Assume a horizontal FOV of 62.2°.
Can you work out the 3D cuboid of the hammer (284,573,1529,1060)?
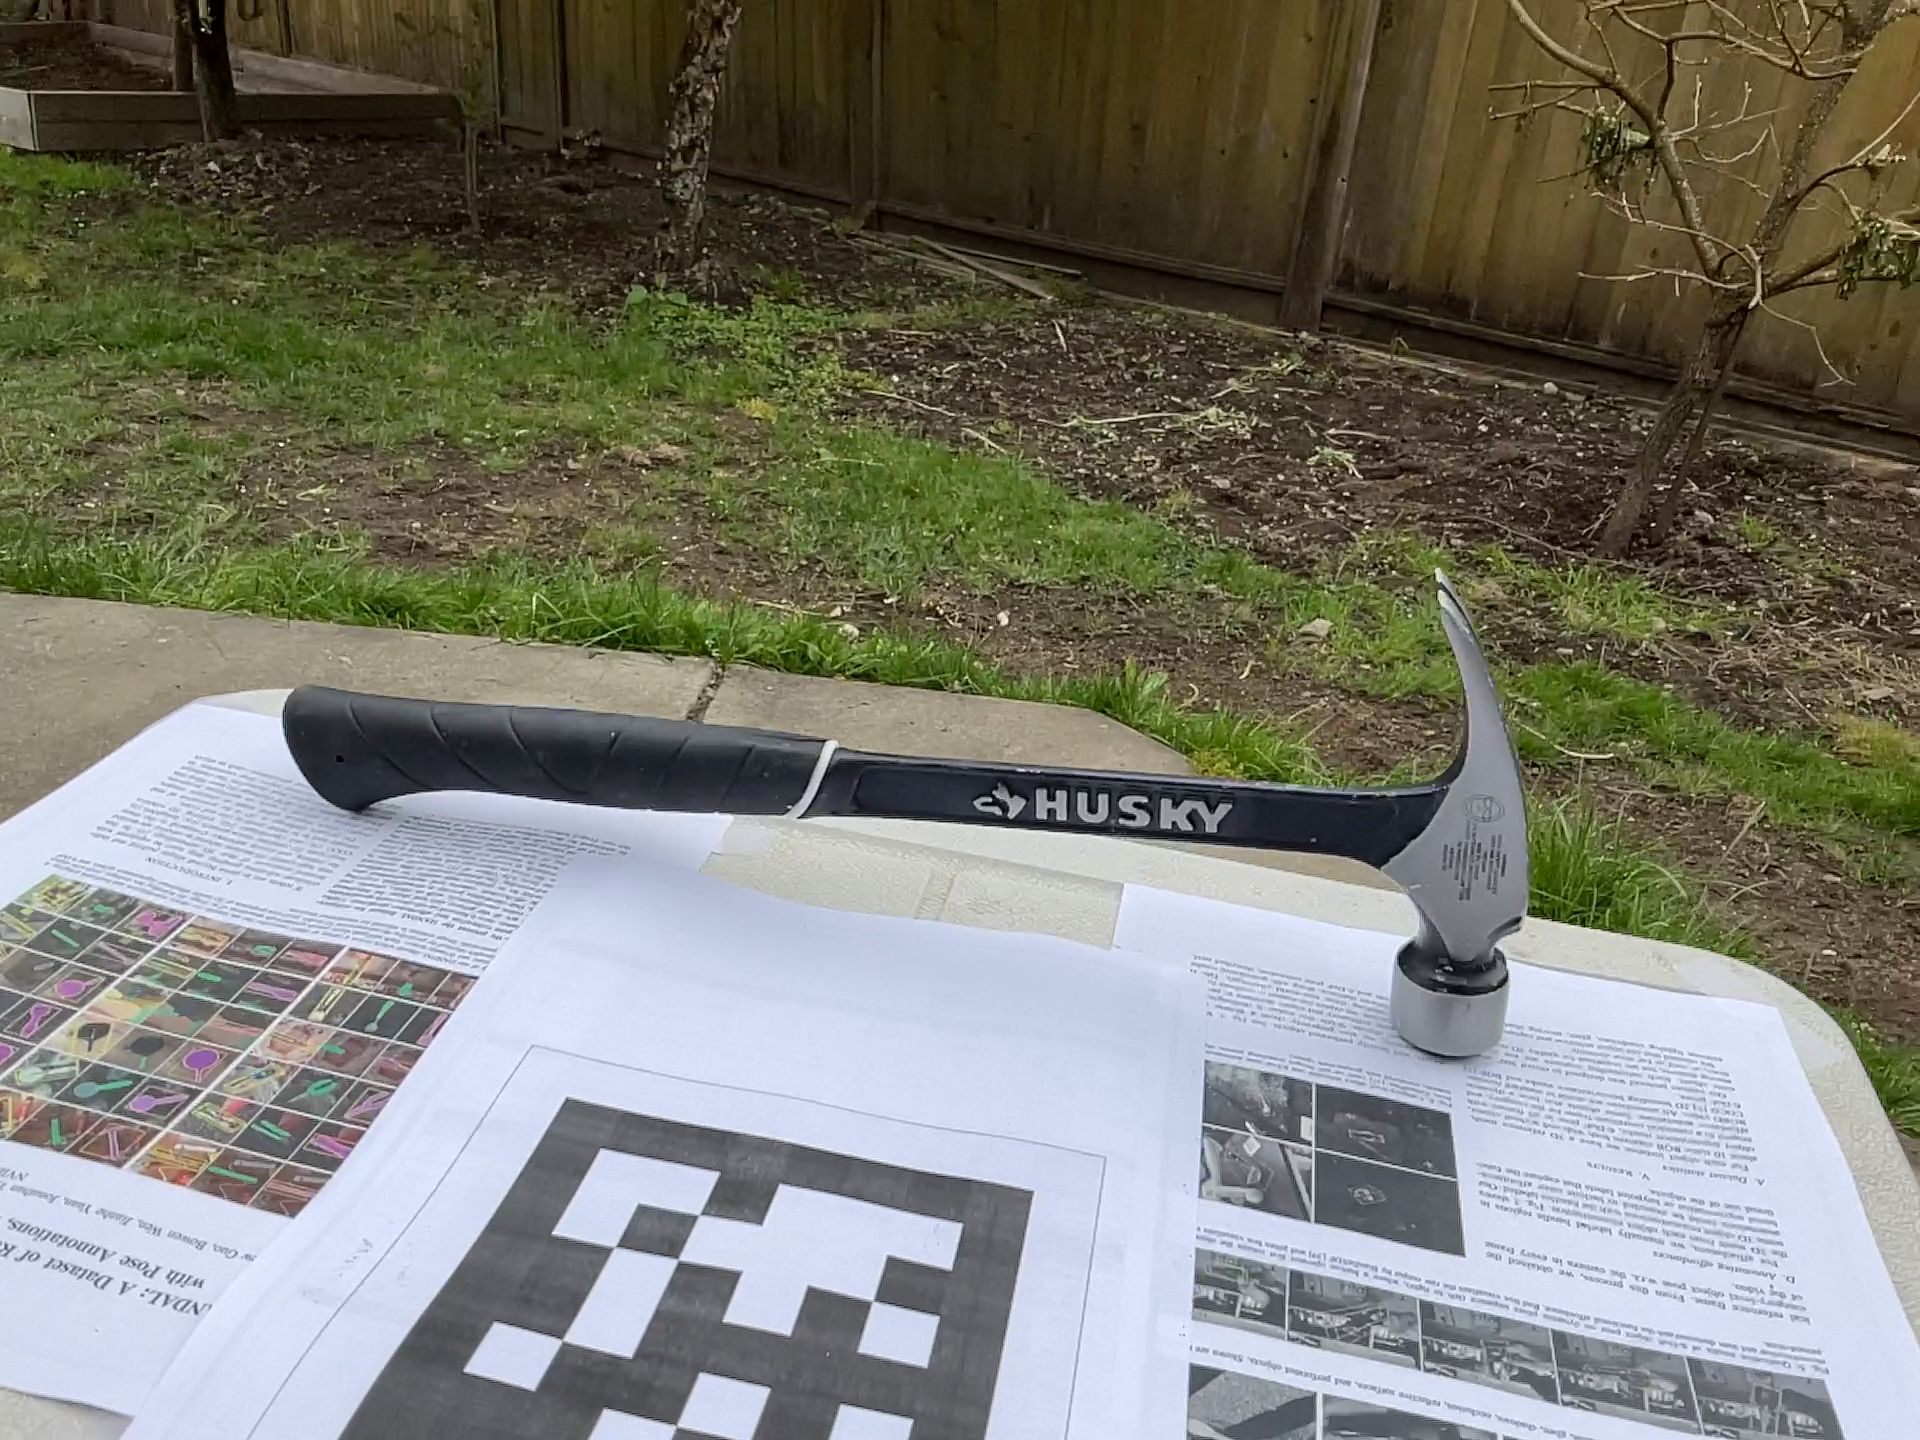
[{"bbox_3d":[-0.030,0.018,0.512,0.409,0.149,0.036,4,25,11],"label":"hammer"}]
